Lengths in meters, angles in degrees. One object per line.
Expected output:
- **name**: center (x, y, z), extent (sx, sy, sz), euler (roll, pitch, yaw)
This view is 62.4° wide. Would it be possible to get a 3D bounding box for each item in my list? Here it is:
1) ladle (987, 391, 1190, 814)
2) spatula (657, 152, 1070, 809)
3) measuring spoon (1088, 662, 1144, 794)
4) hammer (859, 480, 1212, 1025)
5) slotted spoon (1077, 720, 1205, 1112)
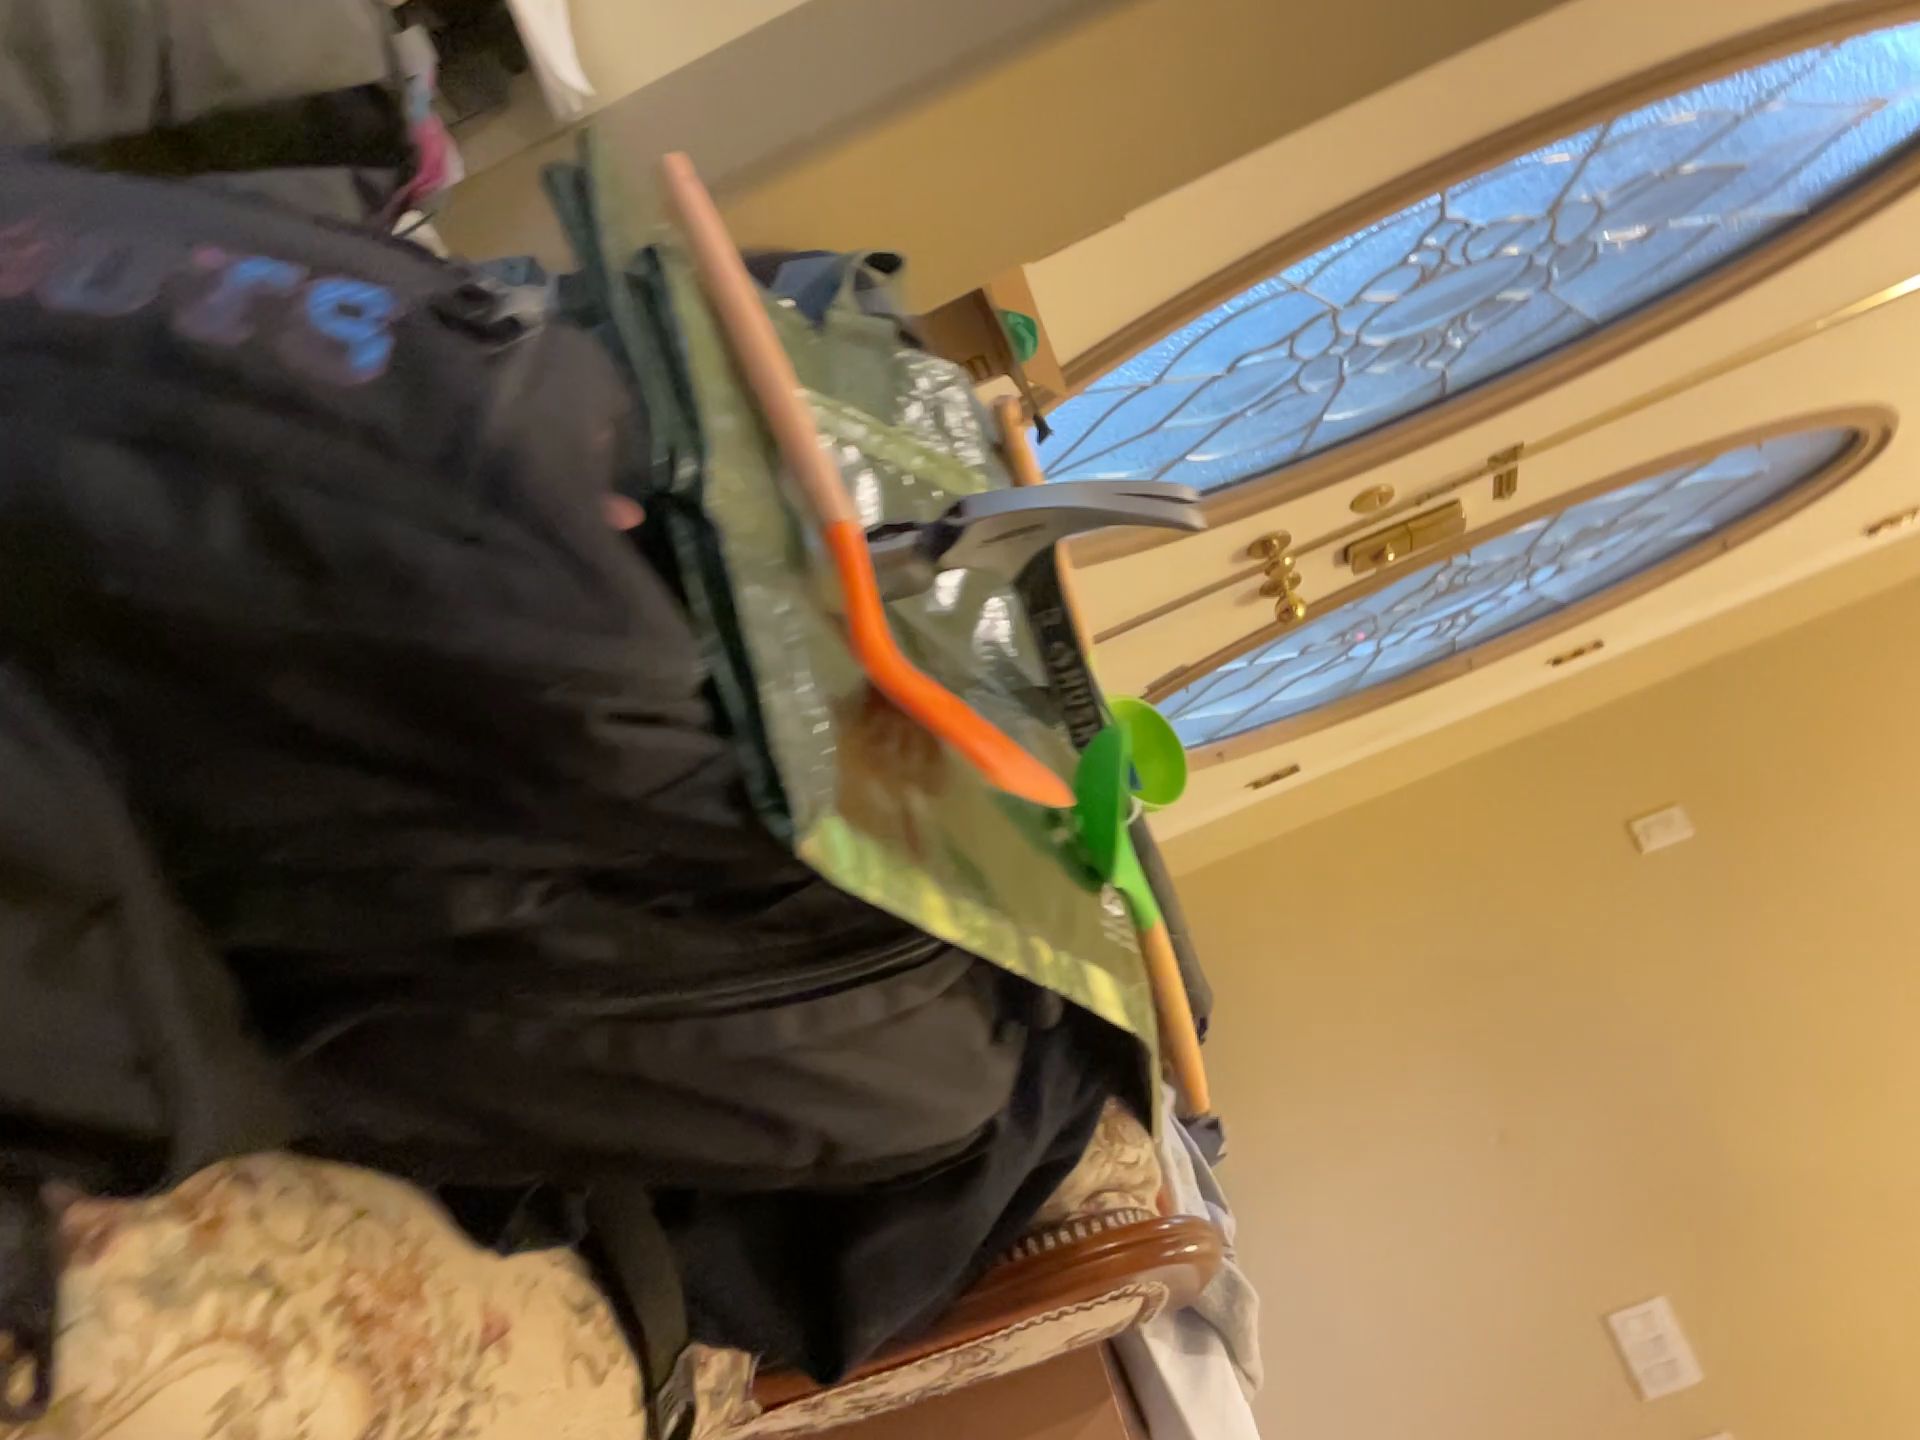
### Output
- **ladle**: center (0.076, -0.061, 0.931), extent (0.319, 0.062, 0.078), euler (67, 31, -43)
- **spatula**: center (-0.050, -0.100, 0.618), extent (0.323, 0.041, 0.081), euler (65, 16, 17)
- **measuring spoon**: center (0.072, -0.010, 0.903), extent (0.042, 0.021, 0.128), euler (-100, 165, -66)
- **hammer**: center (0.081, 0.038, 0.817), extent (0.036, 0.149, 0.408), euler (-93, 166, -44)
- **slotted spoon**: center (0.095, 0.115, 0.789), extent (0.313, 0.031, 0.070), euler (70, 18, -45)
